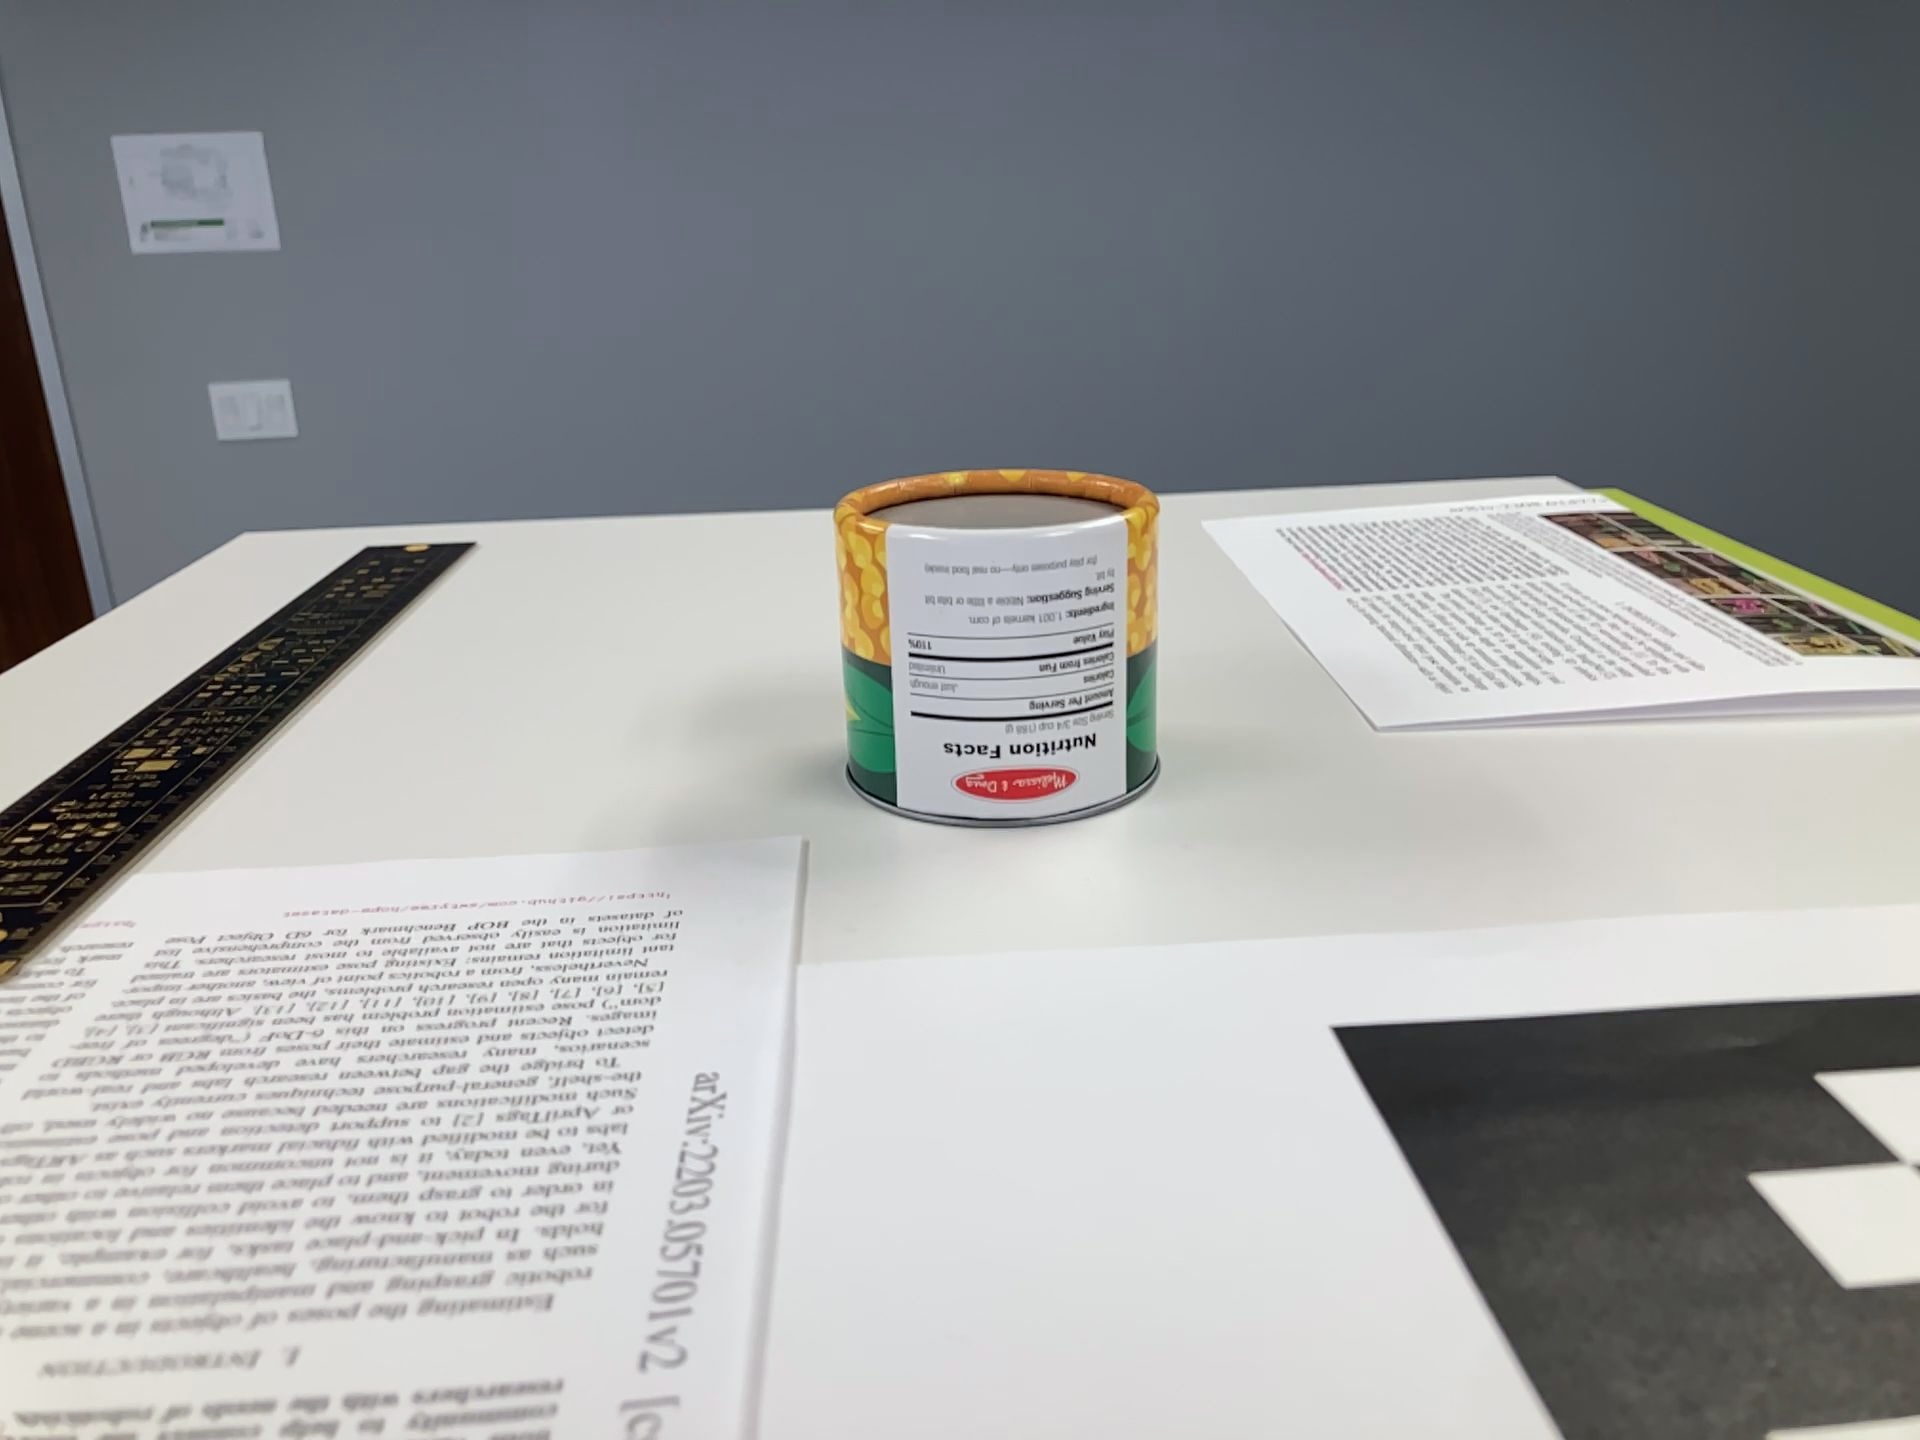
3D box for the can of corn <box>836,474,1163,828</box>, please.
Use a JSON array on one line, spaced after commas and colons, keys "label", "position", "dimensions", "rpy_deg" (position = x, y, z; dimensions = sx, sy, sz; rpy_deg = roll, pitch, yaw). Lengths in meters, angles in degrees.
[{"label": "can of corn", "position": [0.008, -0.018, 0.330], "dimensions": [0.071, 0.058, 0.071], "rpy_deg": [-2, 19, 1]}]
